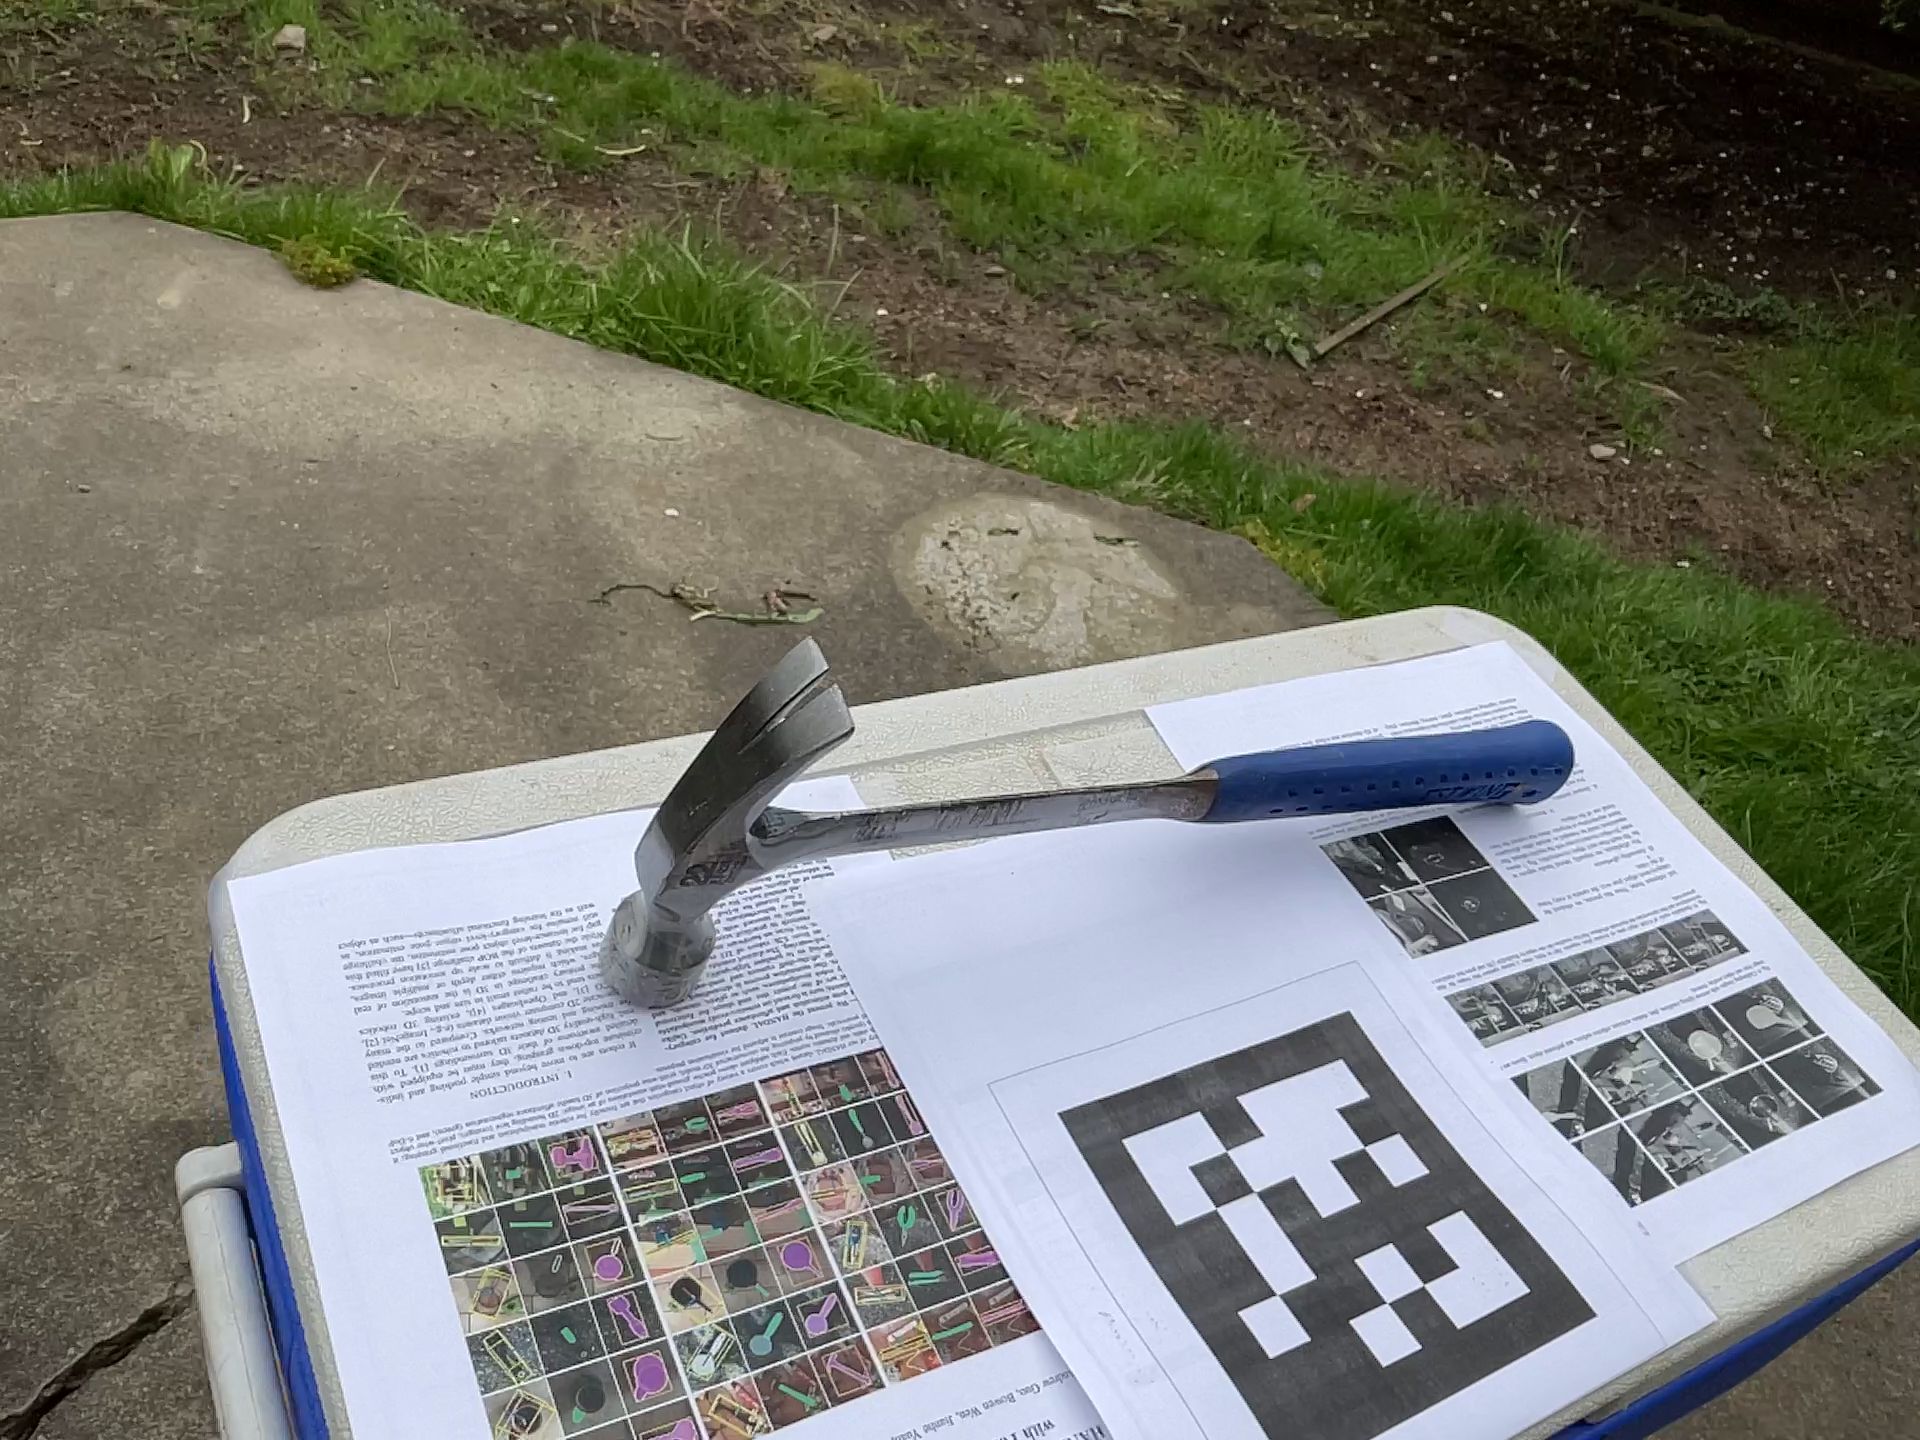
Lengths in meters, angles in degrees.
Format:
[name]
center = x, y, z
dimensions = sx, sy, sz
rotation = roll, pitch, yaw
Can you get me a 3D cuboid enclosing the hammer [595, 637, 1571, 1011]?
[hammer]
center = 0.080, 0.026, 0.573
dimensions = 0.405, 0.144, 0.035
rotation = -4, 52, -33
